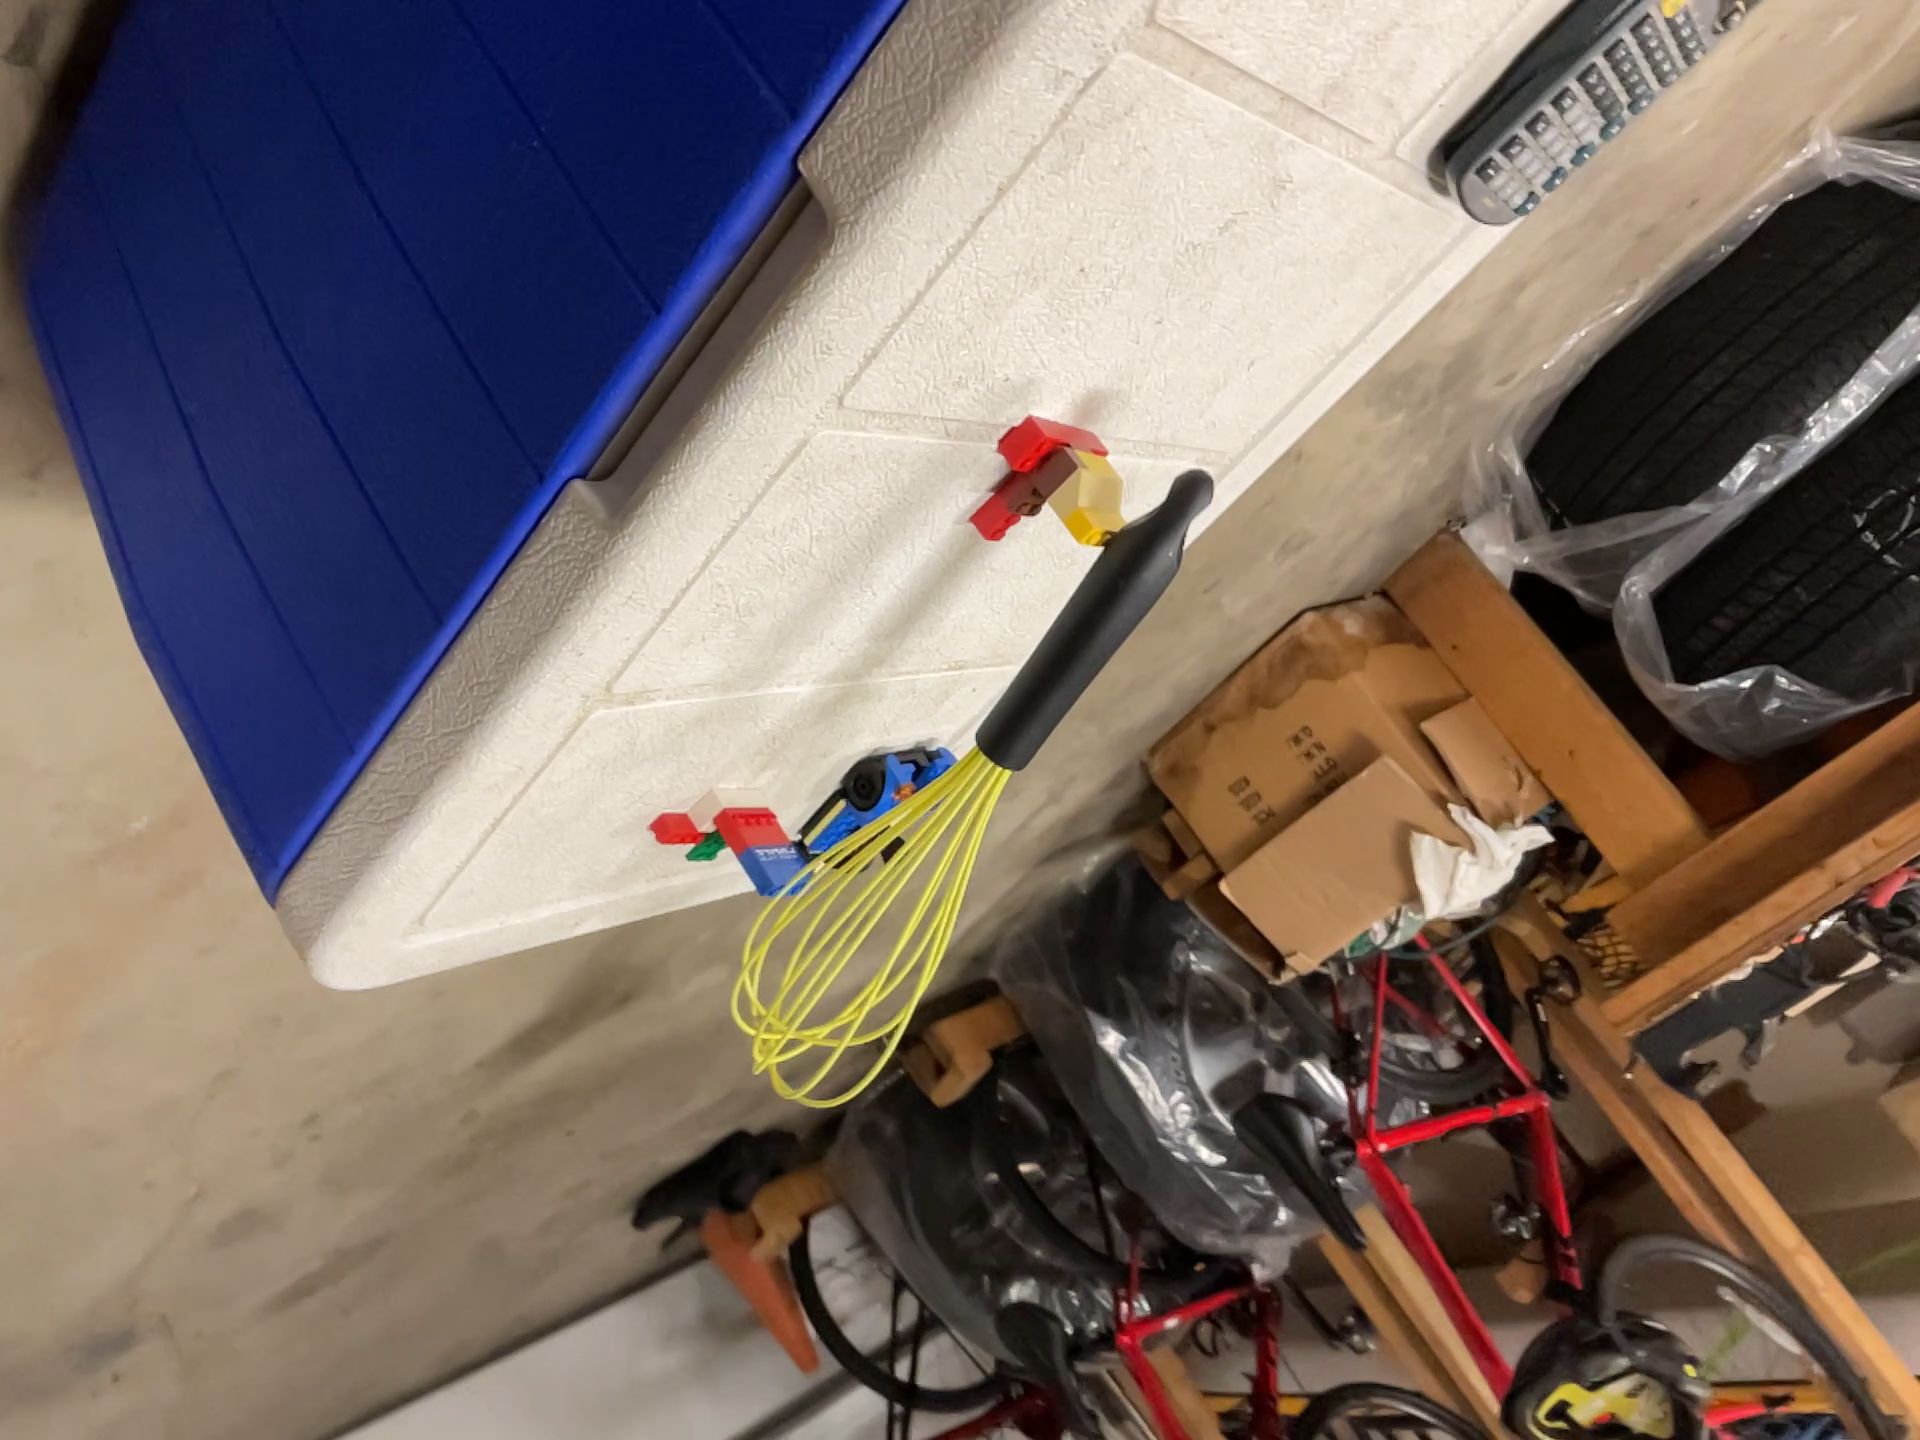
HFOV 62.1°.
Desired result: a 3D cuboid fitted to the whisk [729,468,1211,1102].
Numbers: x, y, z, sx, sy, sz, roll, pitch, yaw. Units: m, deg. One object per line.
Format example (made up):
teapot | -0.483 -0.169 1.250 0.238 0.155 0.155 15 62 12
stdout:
whisk | -0.003 0.031 0.586 0.311 0.067 0.080 -54 -159 28
